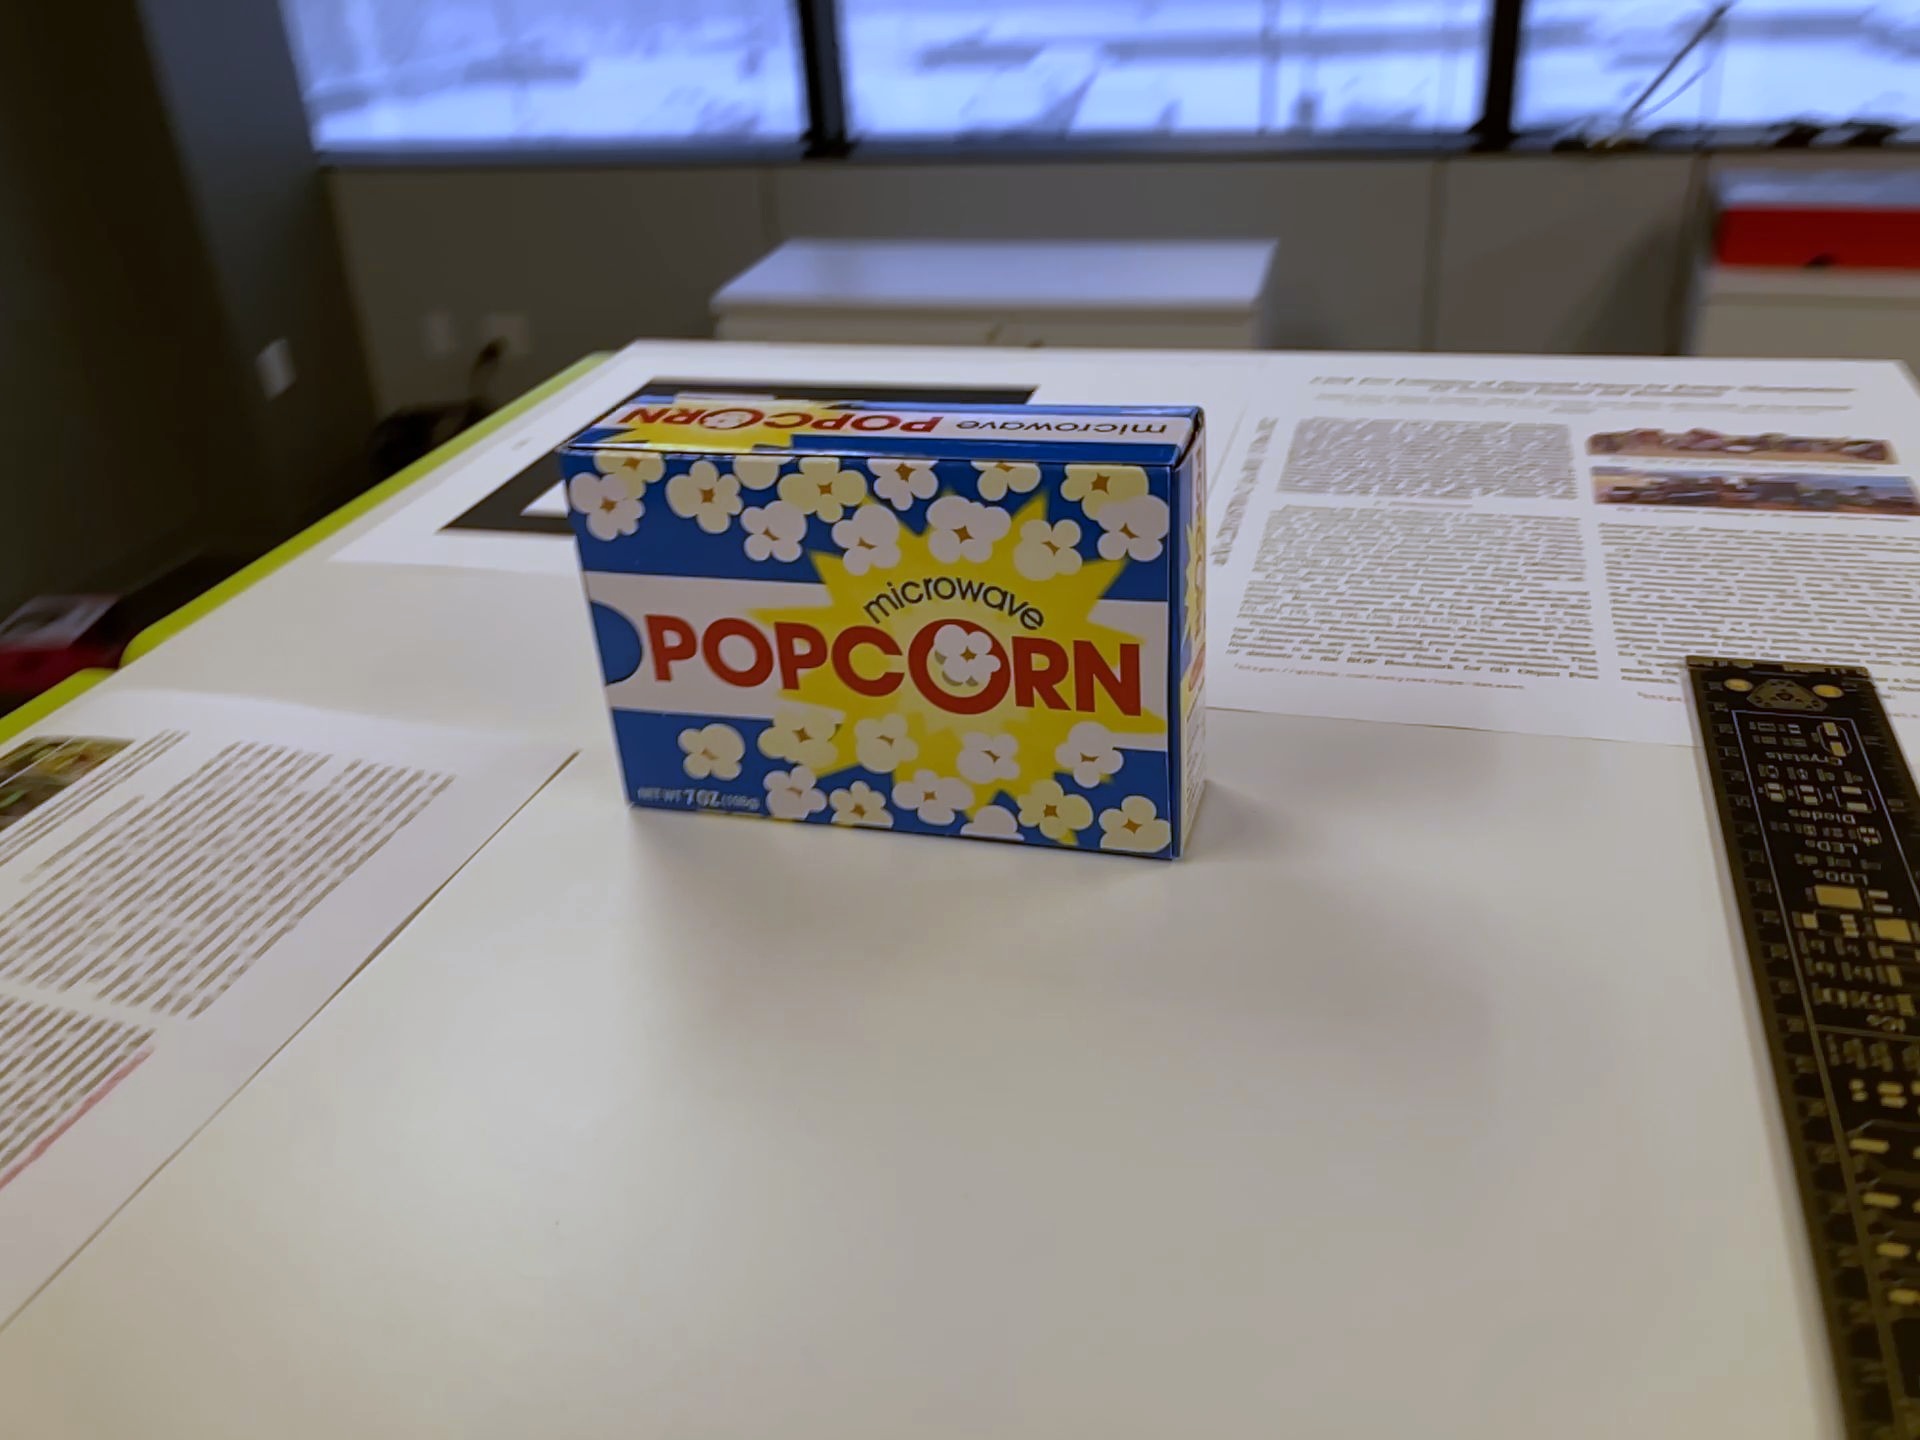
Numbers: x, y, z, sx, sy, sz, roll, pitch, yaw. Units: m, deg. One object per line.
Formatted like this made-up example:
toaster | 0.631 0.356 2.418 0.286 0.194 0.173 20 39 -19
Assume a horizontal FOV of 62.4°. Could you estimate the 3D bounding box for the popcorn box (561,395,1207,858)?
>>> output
popcorn box | -0.013 -0.022 0.335 0.126 0.085 0.038 5 30 17
